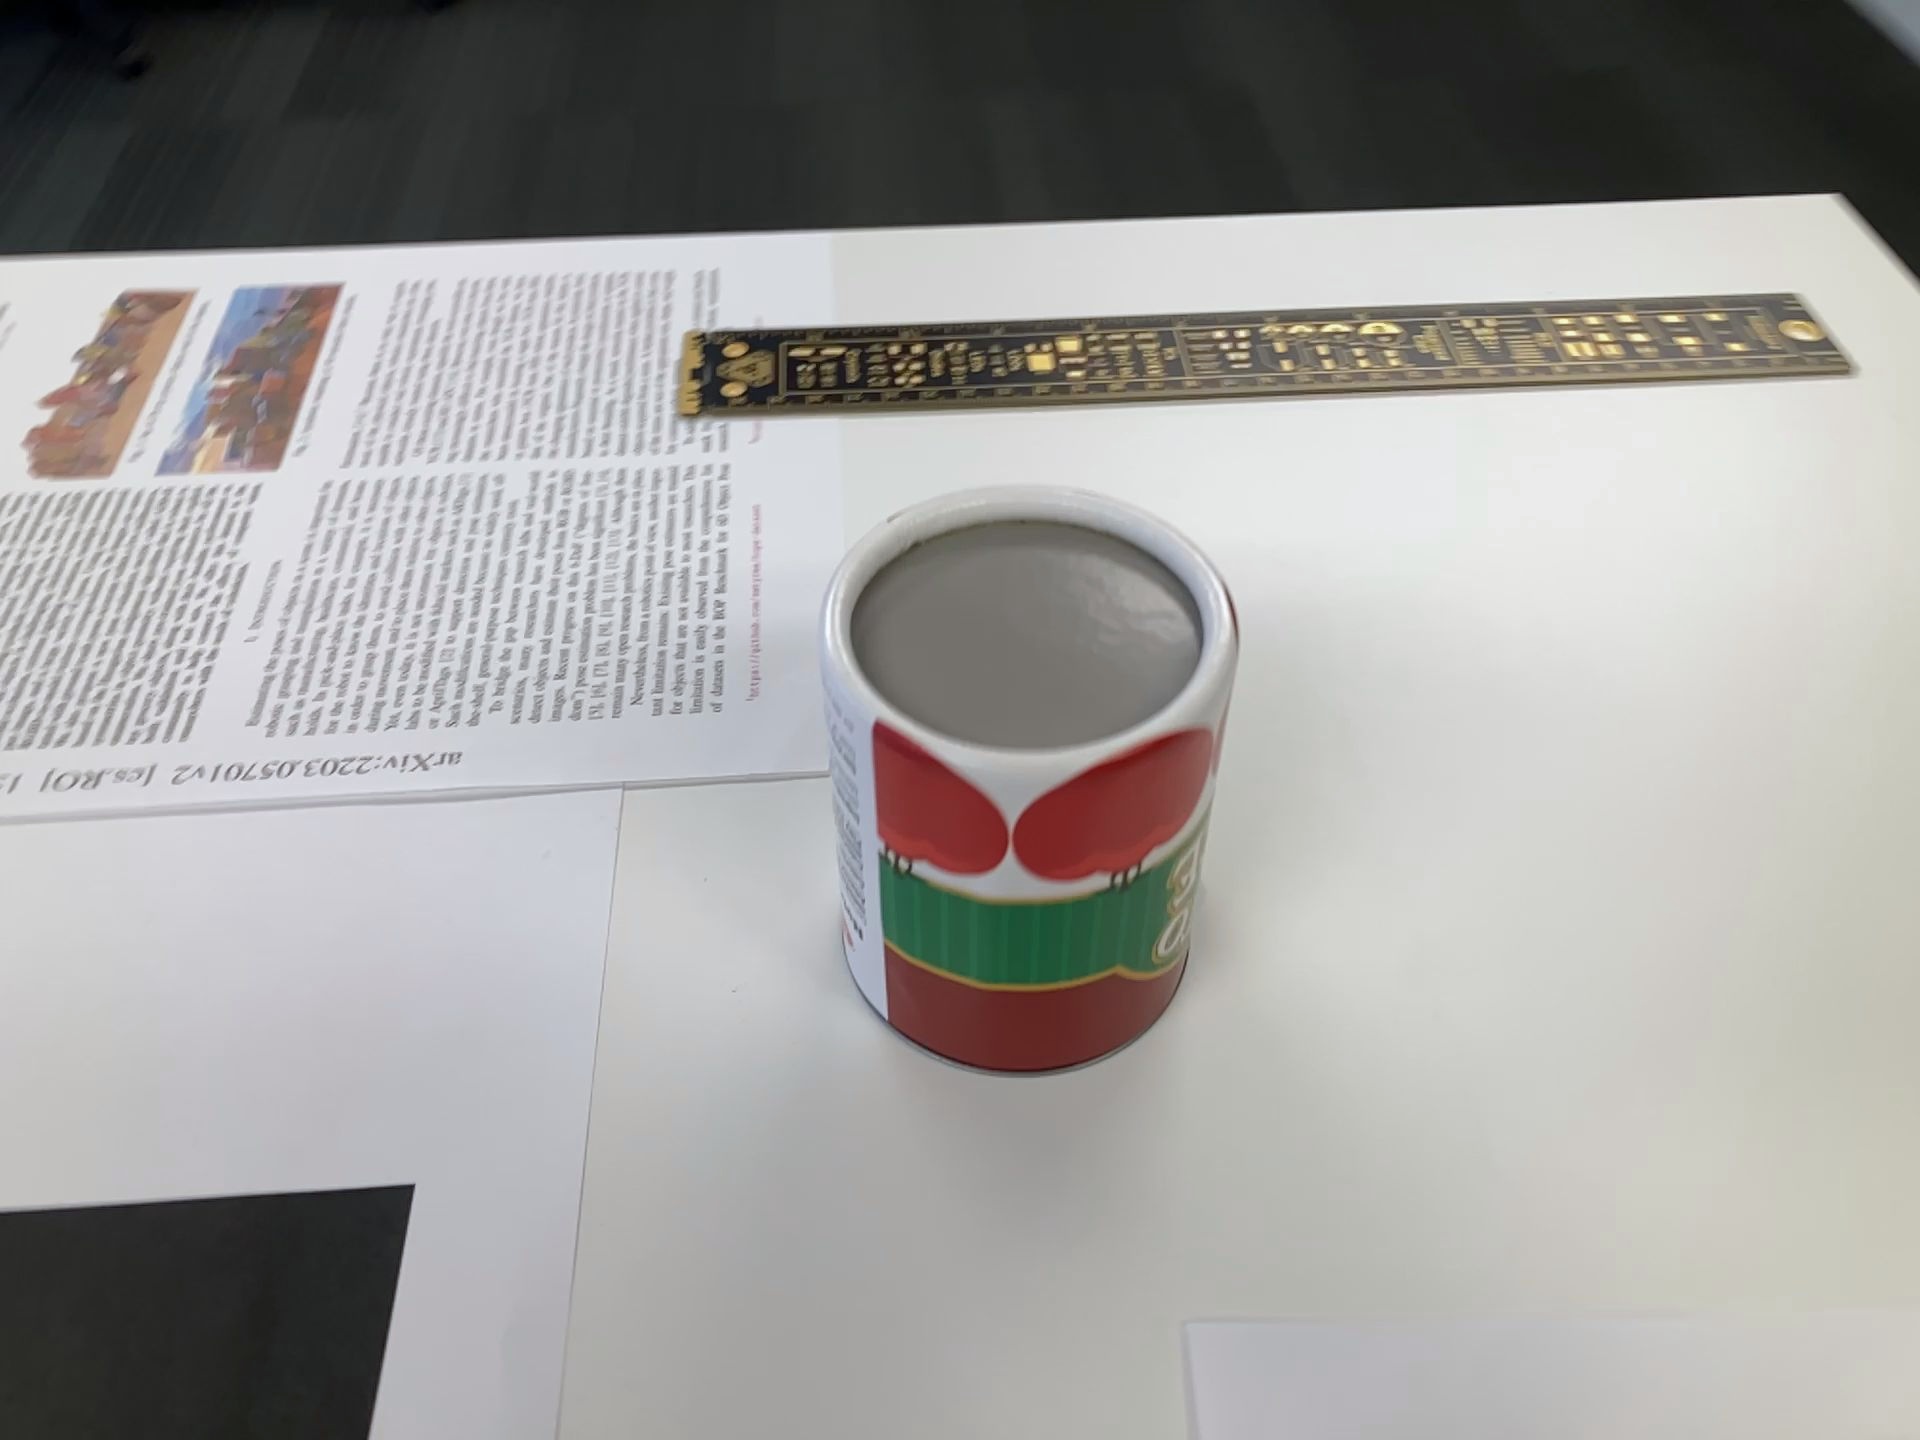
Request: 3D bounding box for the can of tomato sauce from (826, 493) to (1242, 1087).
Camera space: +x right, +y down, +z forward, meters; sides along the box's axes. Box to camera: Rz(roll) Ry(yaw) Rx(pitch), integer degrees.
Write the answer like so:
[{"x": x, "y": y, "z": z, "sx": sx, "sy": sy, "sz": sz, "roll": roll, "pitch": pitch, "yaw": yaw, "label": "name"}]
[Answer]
[{"x": 0.013, "y": 0.012, "z": 0.277, "sx": 0.071, "sy": 0.083, "sz": 0.071, "roll": 1, "pitch": 44, "yaw": -1, "label": "can of tomato sauce"}]
